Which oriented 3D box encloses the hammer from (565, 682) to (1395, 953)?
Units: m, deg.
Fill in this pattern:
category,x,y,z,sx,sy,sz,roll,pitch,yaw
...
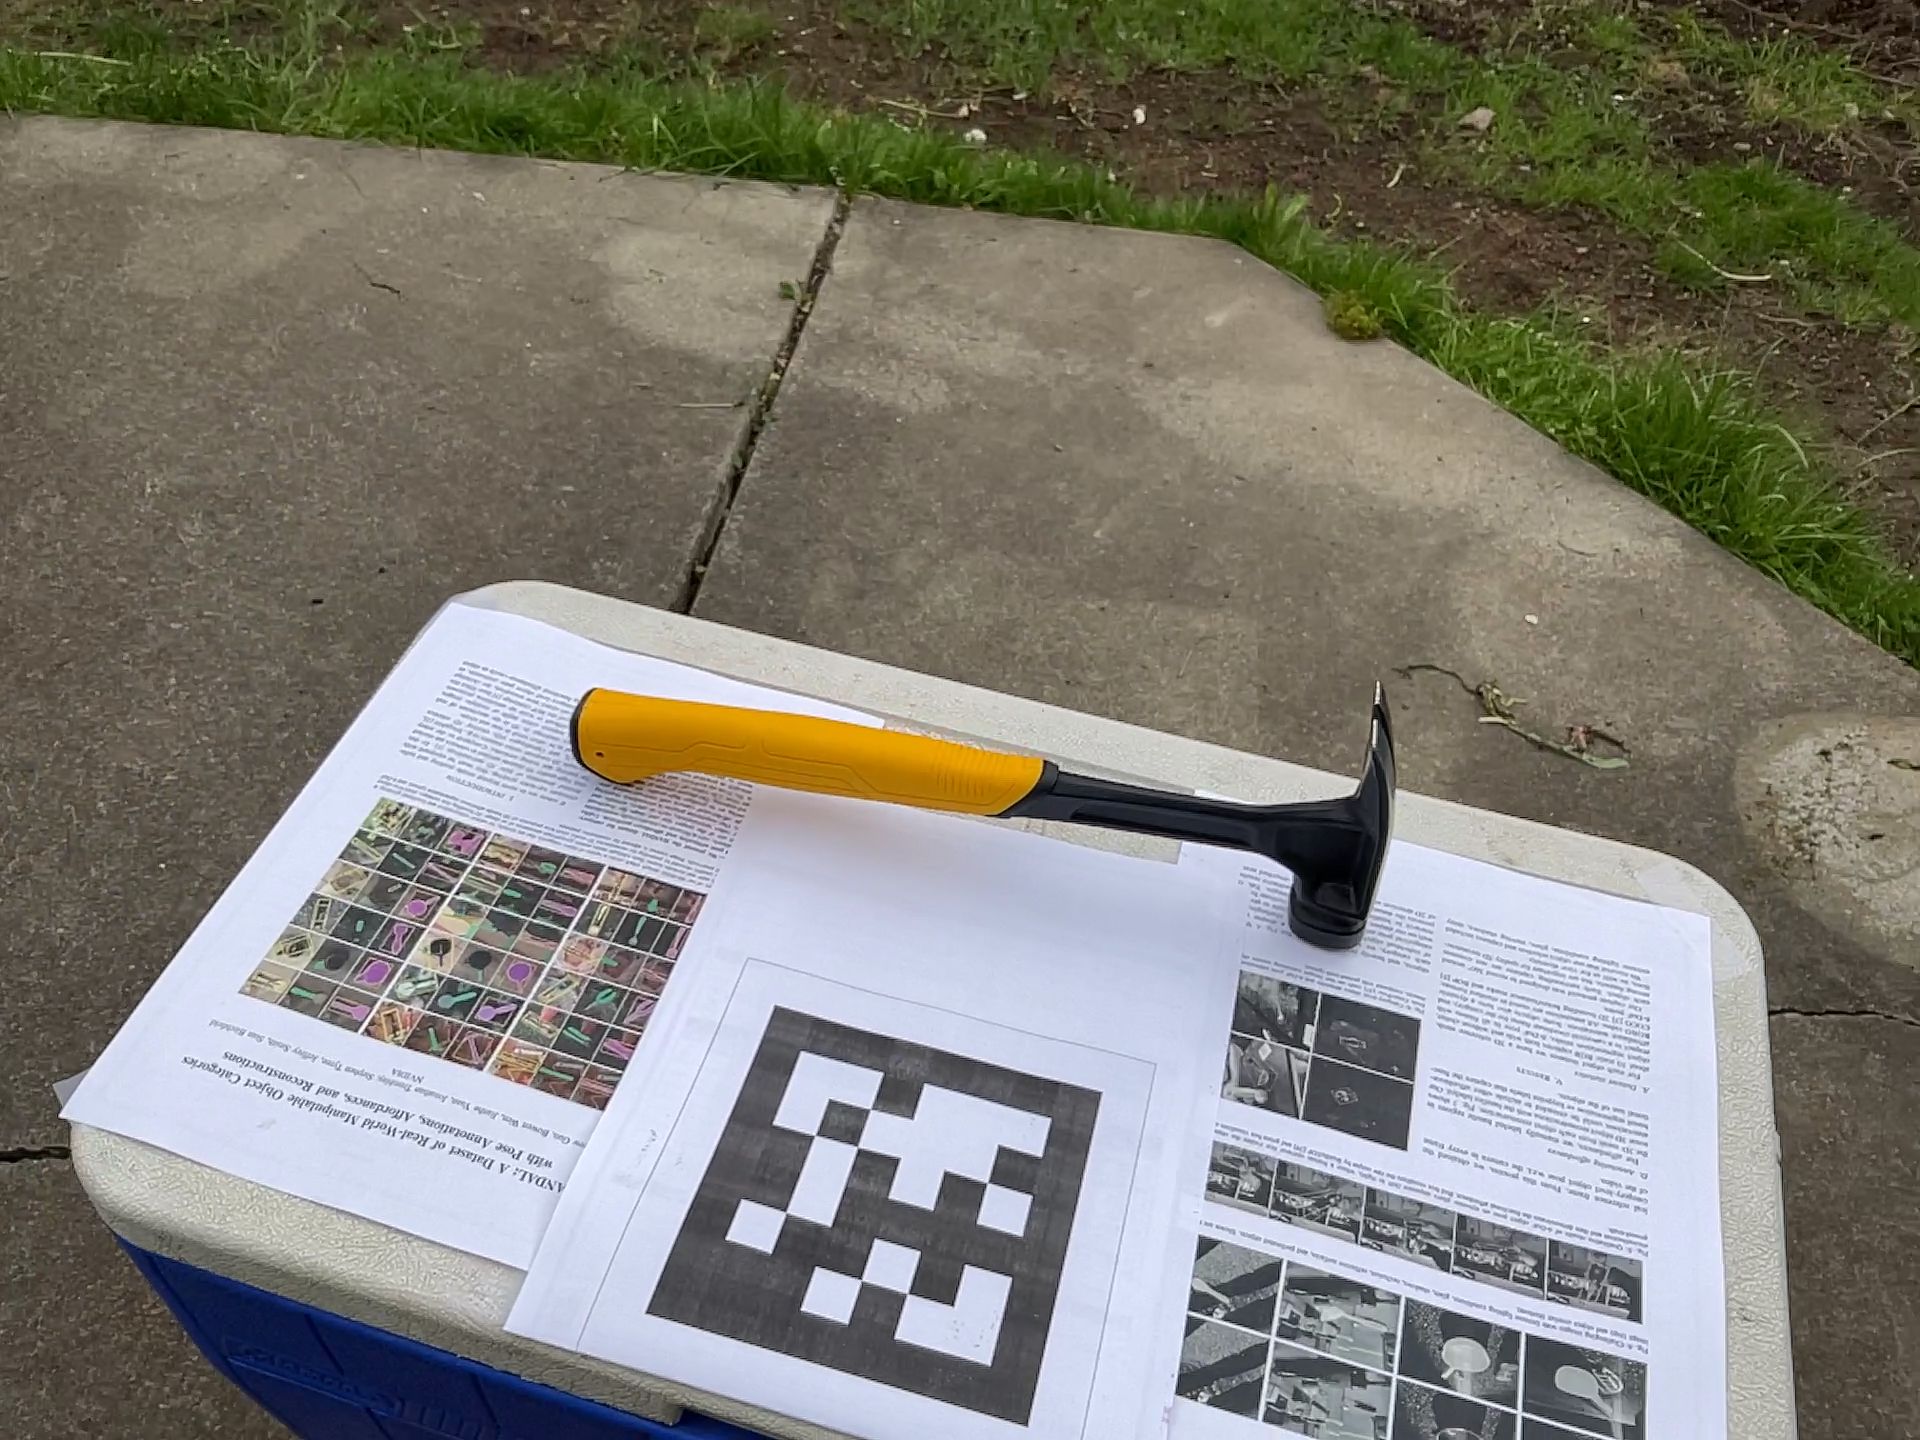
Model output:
category,x,y,z,sx,sy,sz,roll,pitch,yaw
hammer,0.000,0.020,0.641,0.337,0.127,0.034,8,47,11
